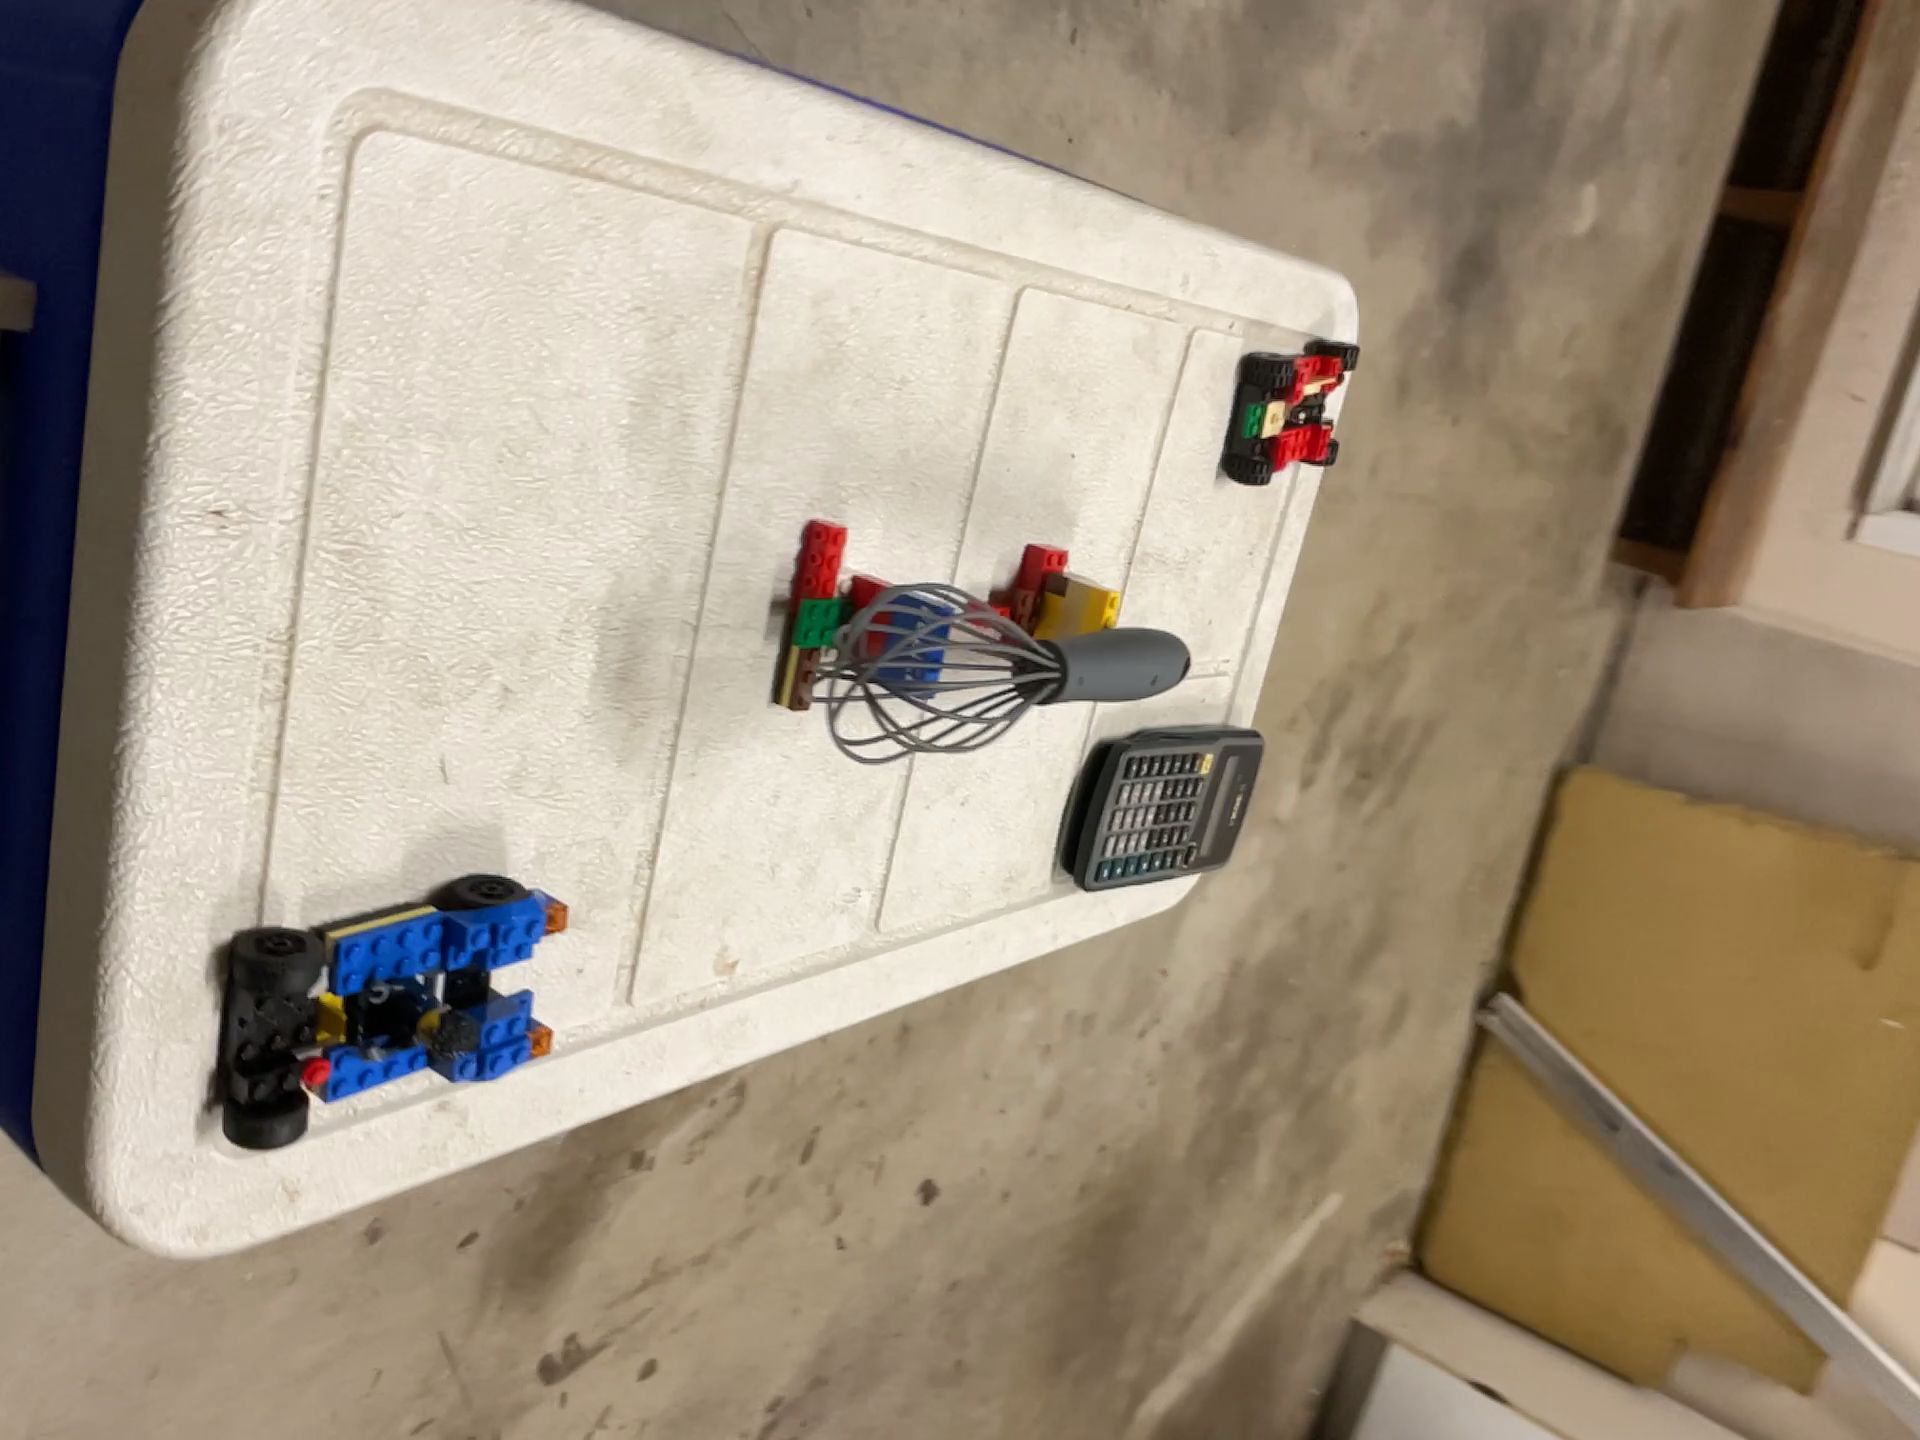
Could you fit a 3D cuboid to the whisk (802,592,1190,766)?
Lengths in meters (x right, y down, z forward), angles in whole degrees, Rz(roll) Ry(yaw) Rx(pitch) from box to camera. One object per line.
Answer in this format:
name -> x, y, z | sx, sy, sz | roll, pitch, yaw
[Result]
whisk -> 0.025, -0.015, 0.543 | 0.239, 0.055, 0.055 | -6, 116, -59
